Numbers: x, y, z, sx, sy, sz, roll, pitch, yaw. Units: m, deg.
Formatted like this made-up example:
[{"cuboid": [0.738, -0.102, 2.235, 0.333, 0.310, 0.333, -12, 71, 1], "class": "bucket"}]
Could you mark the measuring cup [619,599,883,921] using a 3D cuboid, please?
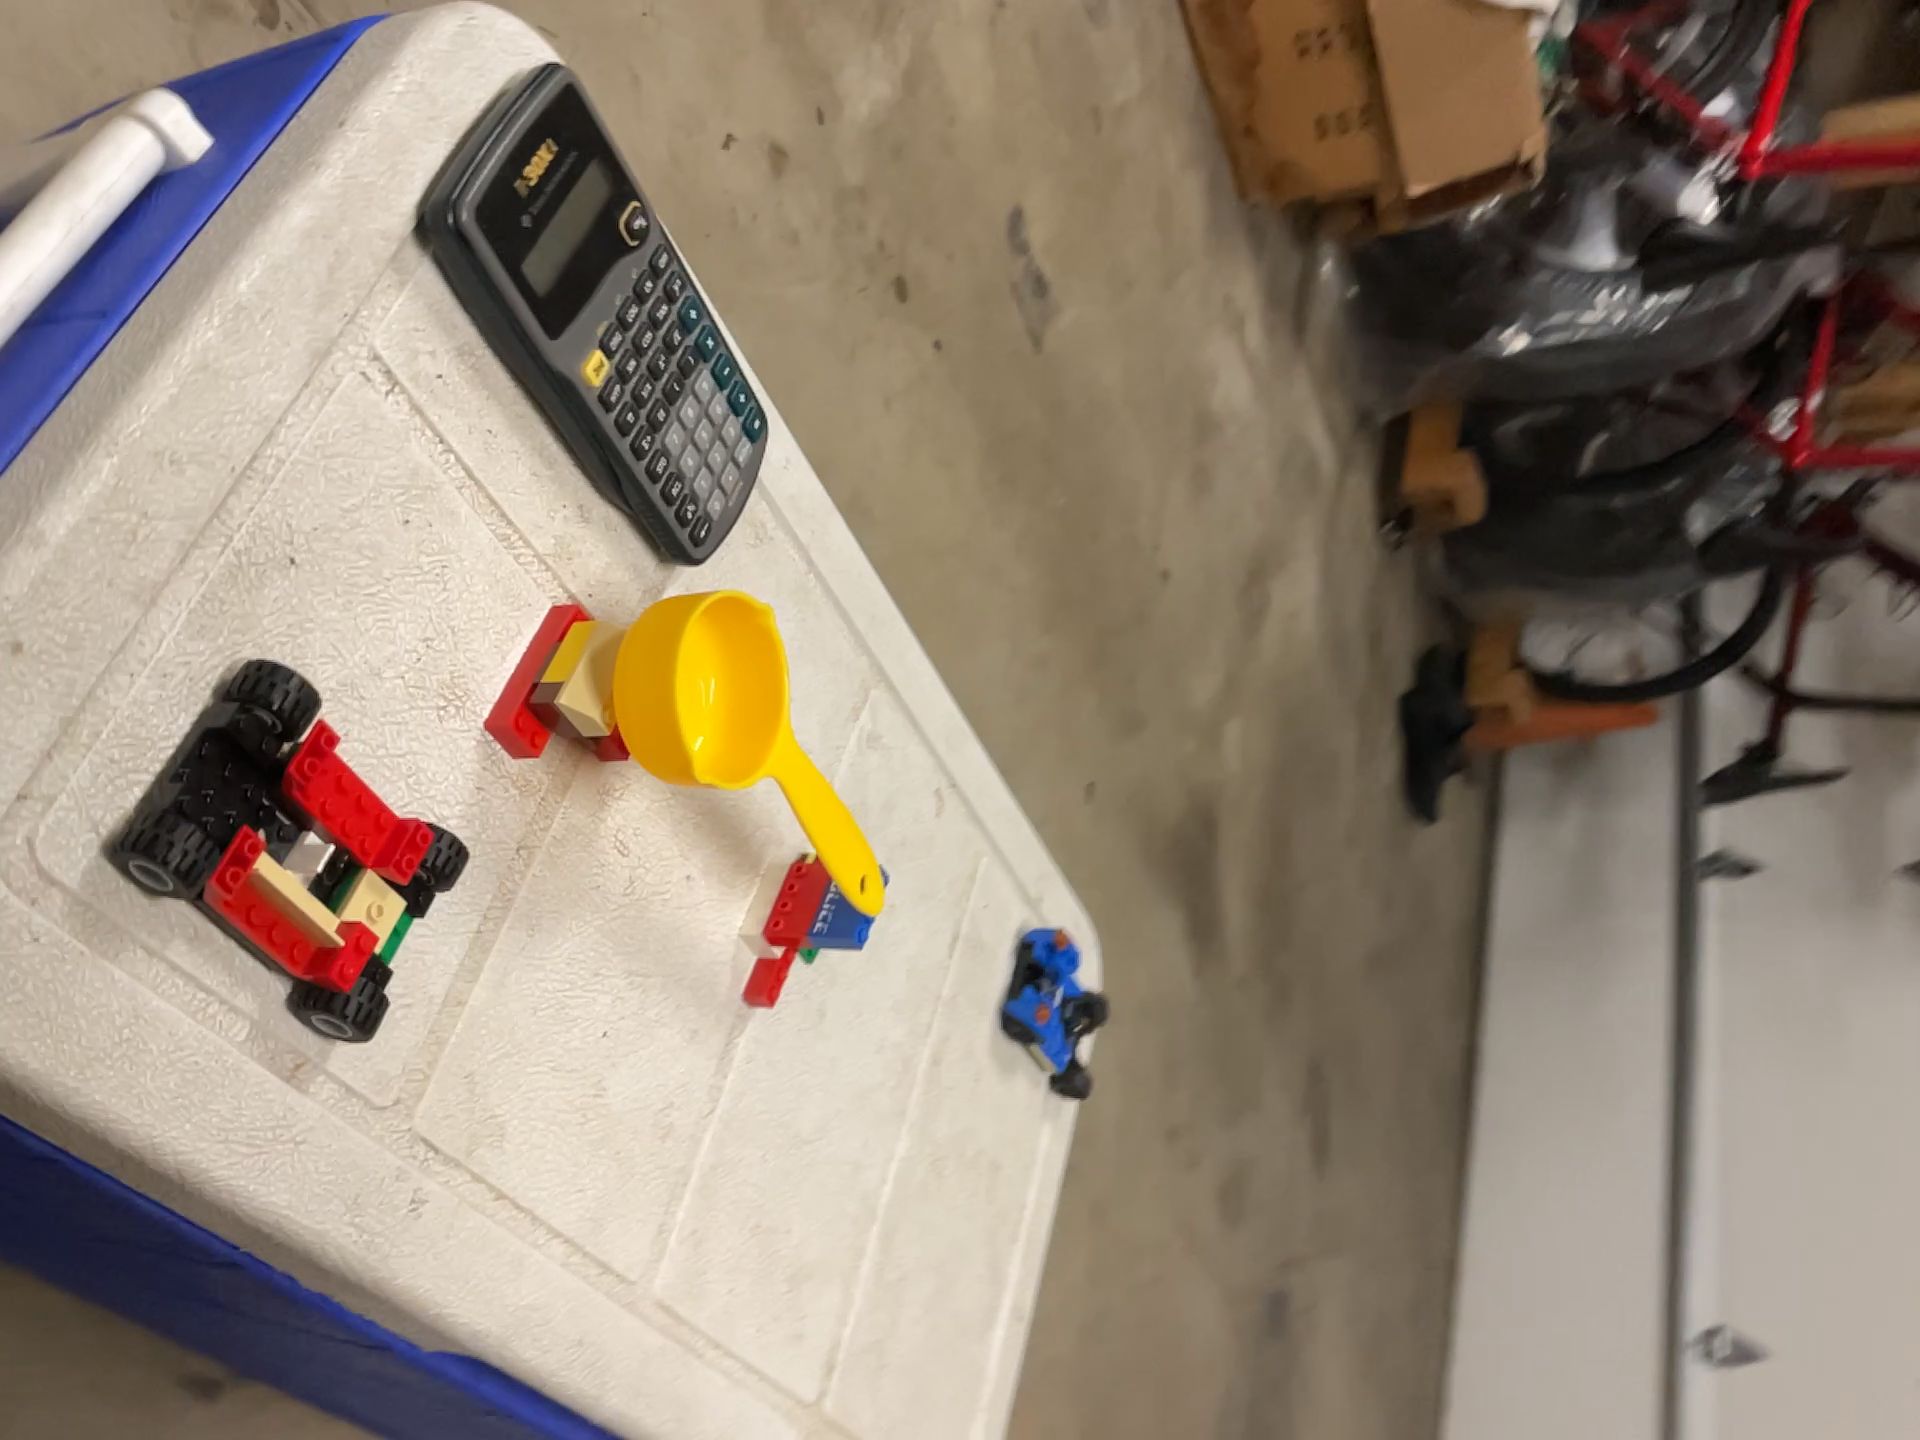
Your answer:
[{"cuboid": [-0.064, 0.022, 0.519, 0.156, 0.029, 0.062, 63, 36, -47], "class": "measuring cup"}]
